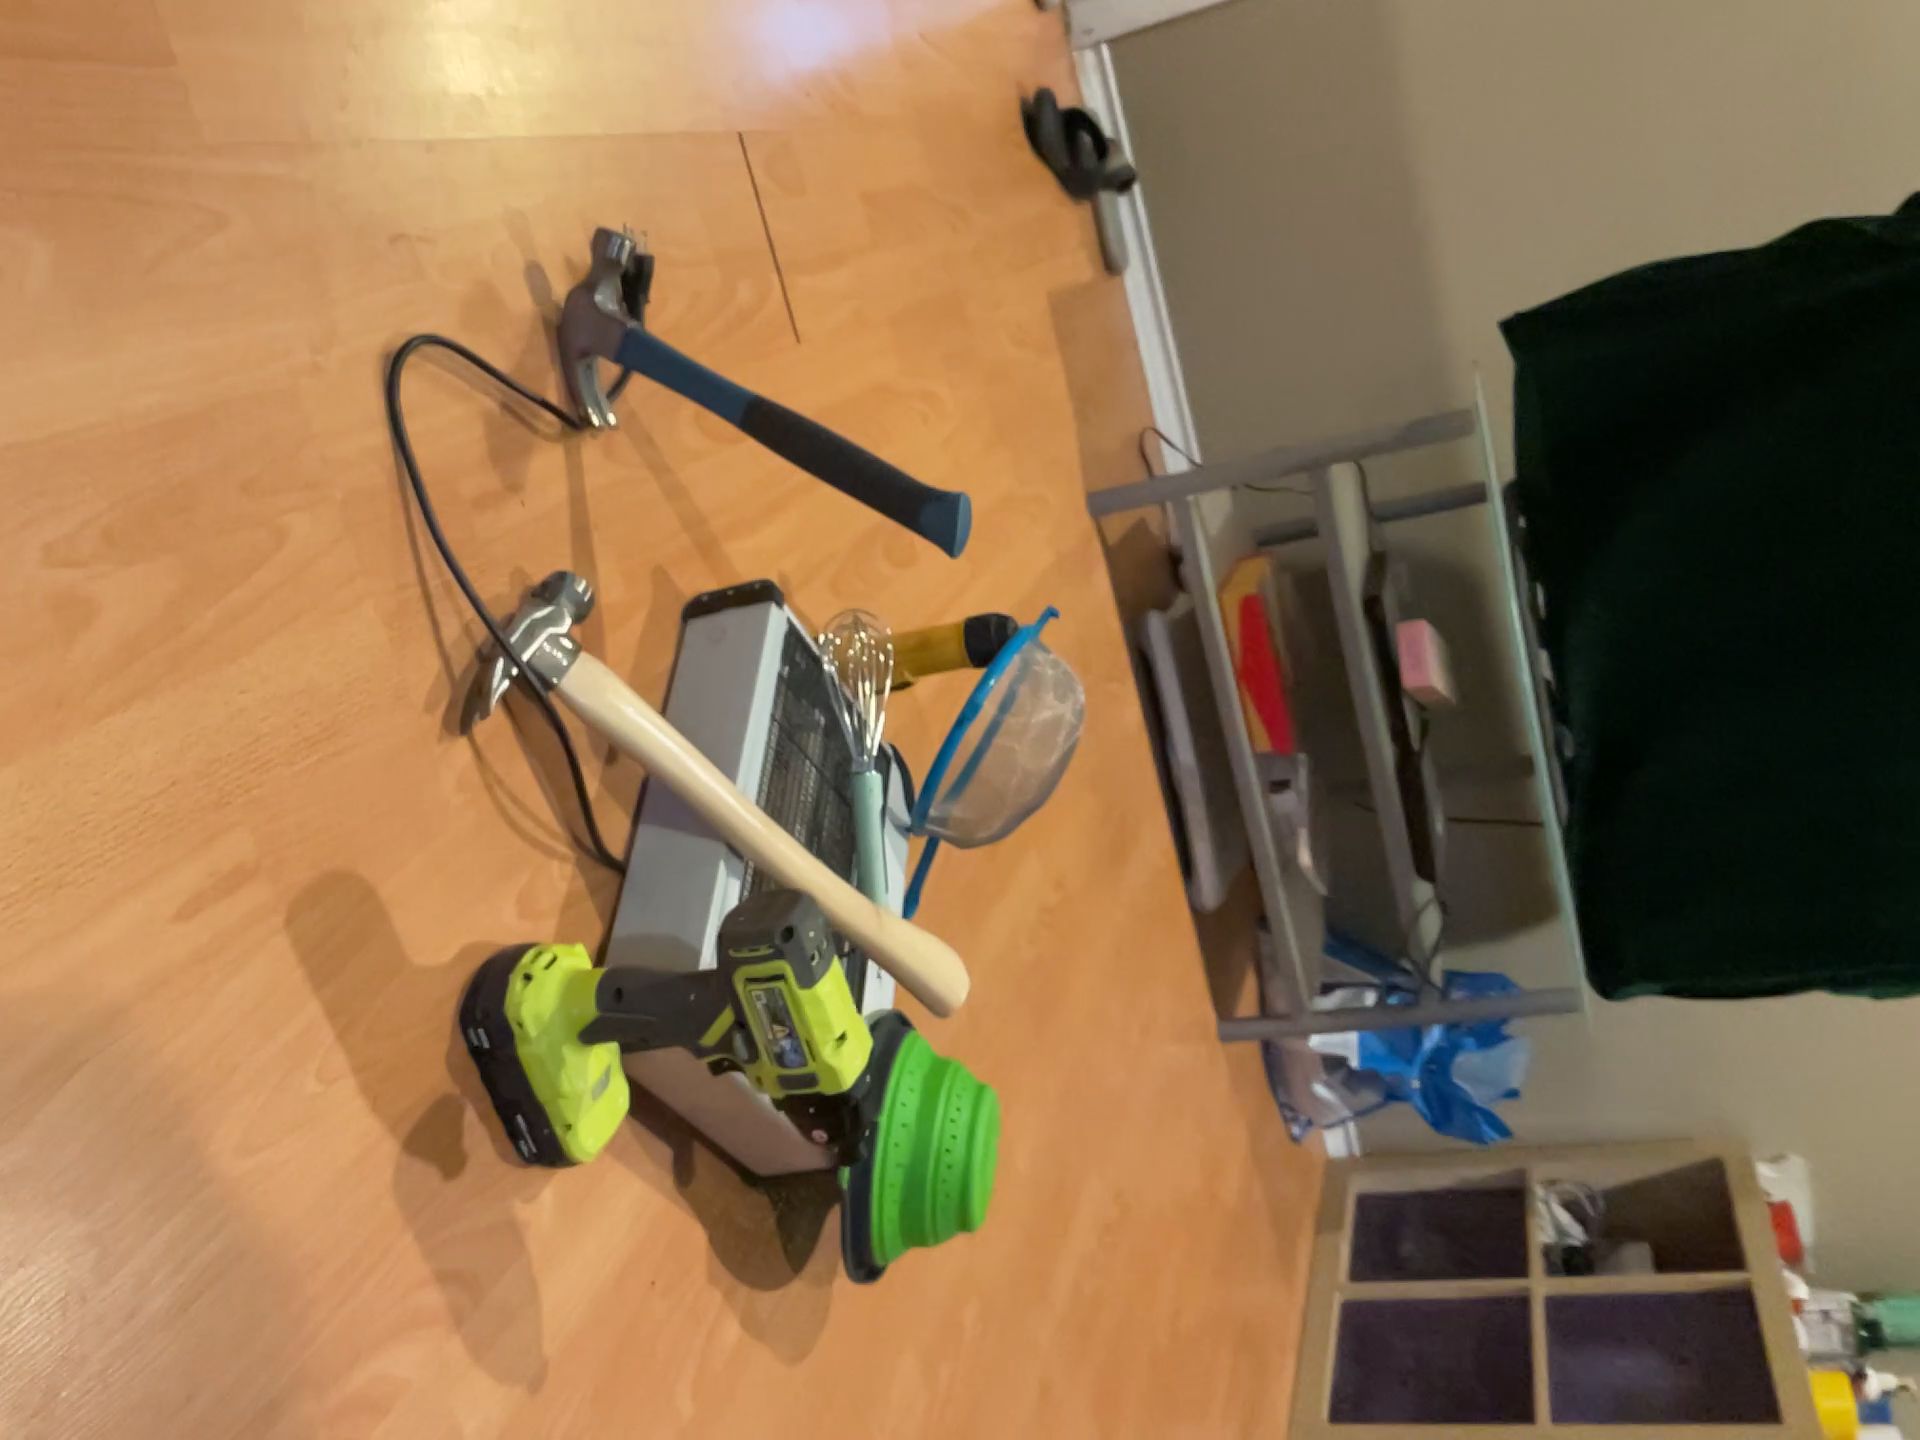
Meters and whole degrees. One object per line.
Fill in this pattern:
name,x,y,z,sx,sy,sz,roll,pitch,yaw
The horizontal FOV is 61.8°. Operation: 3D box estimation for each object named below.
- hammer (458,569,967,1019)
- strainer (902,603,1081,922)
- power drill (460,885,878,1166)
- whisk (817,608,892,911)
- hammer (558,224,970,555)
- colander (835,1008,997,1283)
hammer,-0.148,0.078,1.073,0.410,0.038,0.146,43,34,-21
strainer,0.028,0.076,1.421,0.211,0.095,0.340,-50,164,-51
power drill,-0.162,0.192,0.937,0.080,0.223,0.171,-56,133,-61
whisk,-0.076,0.034,1.259,0.058,0.059,0.246,149,-63,-80
hammer,-0.136,-0.210,1.106,0.128,0.331,0.033,-64,169,20
colander,-0.016,0.365,1.299,0.396,0.094,0.204,77,20,-62
